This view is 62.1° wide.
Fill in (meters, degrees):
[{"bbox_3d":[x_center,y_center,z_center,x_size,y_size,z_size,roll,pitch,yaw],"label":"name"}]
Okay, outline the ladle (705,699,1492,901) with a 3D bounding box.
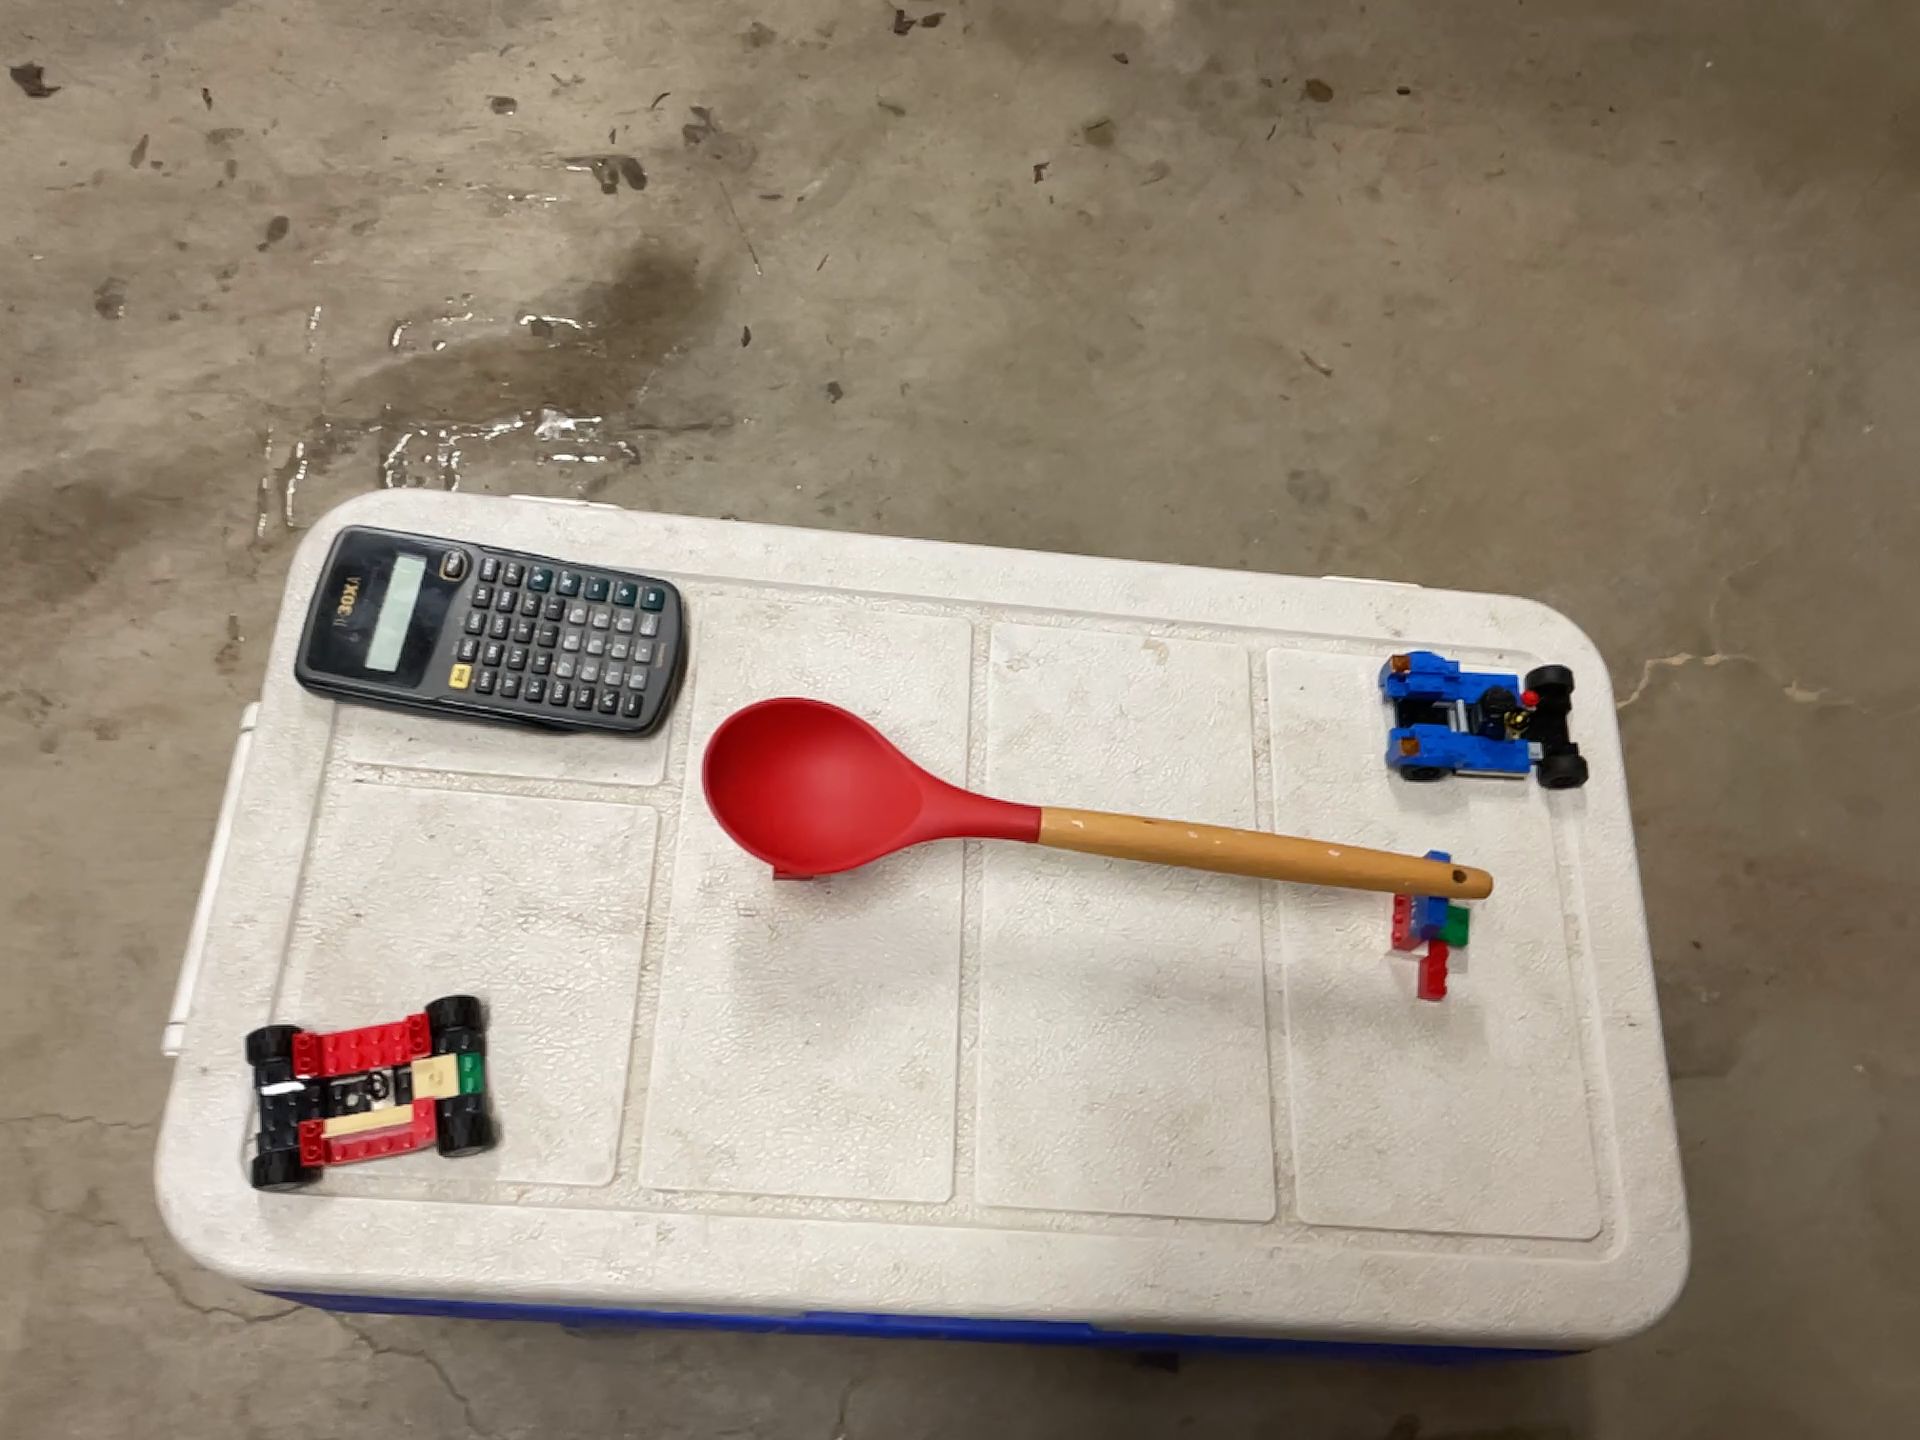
[{"bbox_3d":[0.057,0.044,0.629,0.315,0.031,0.069,8,71,-5],"label":"ladle"}]
